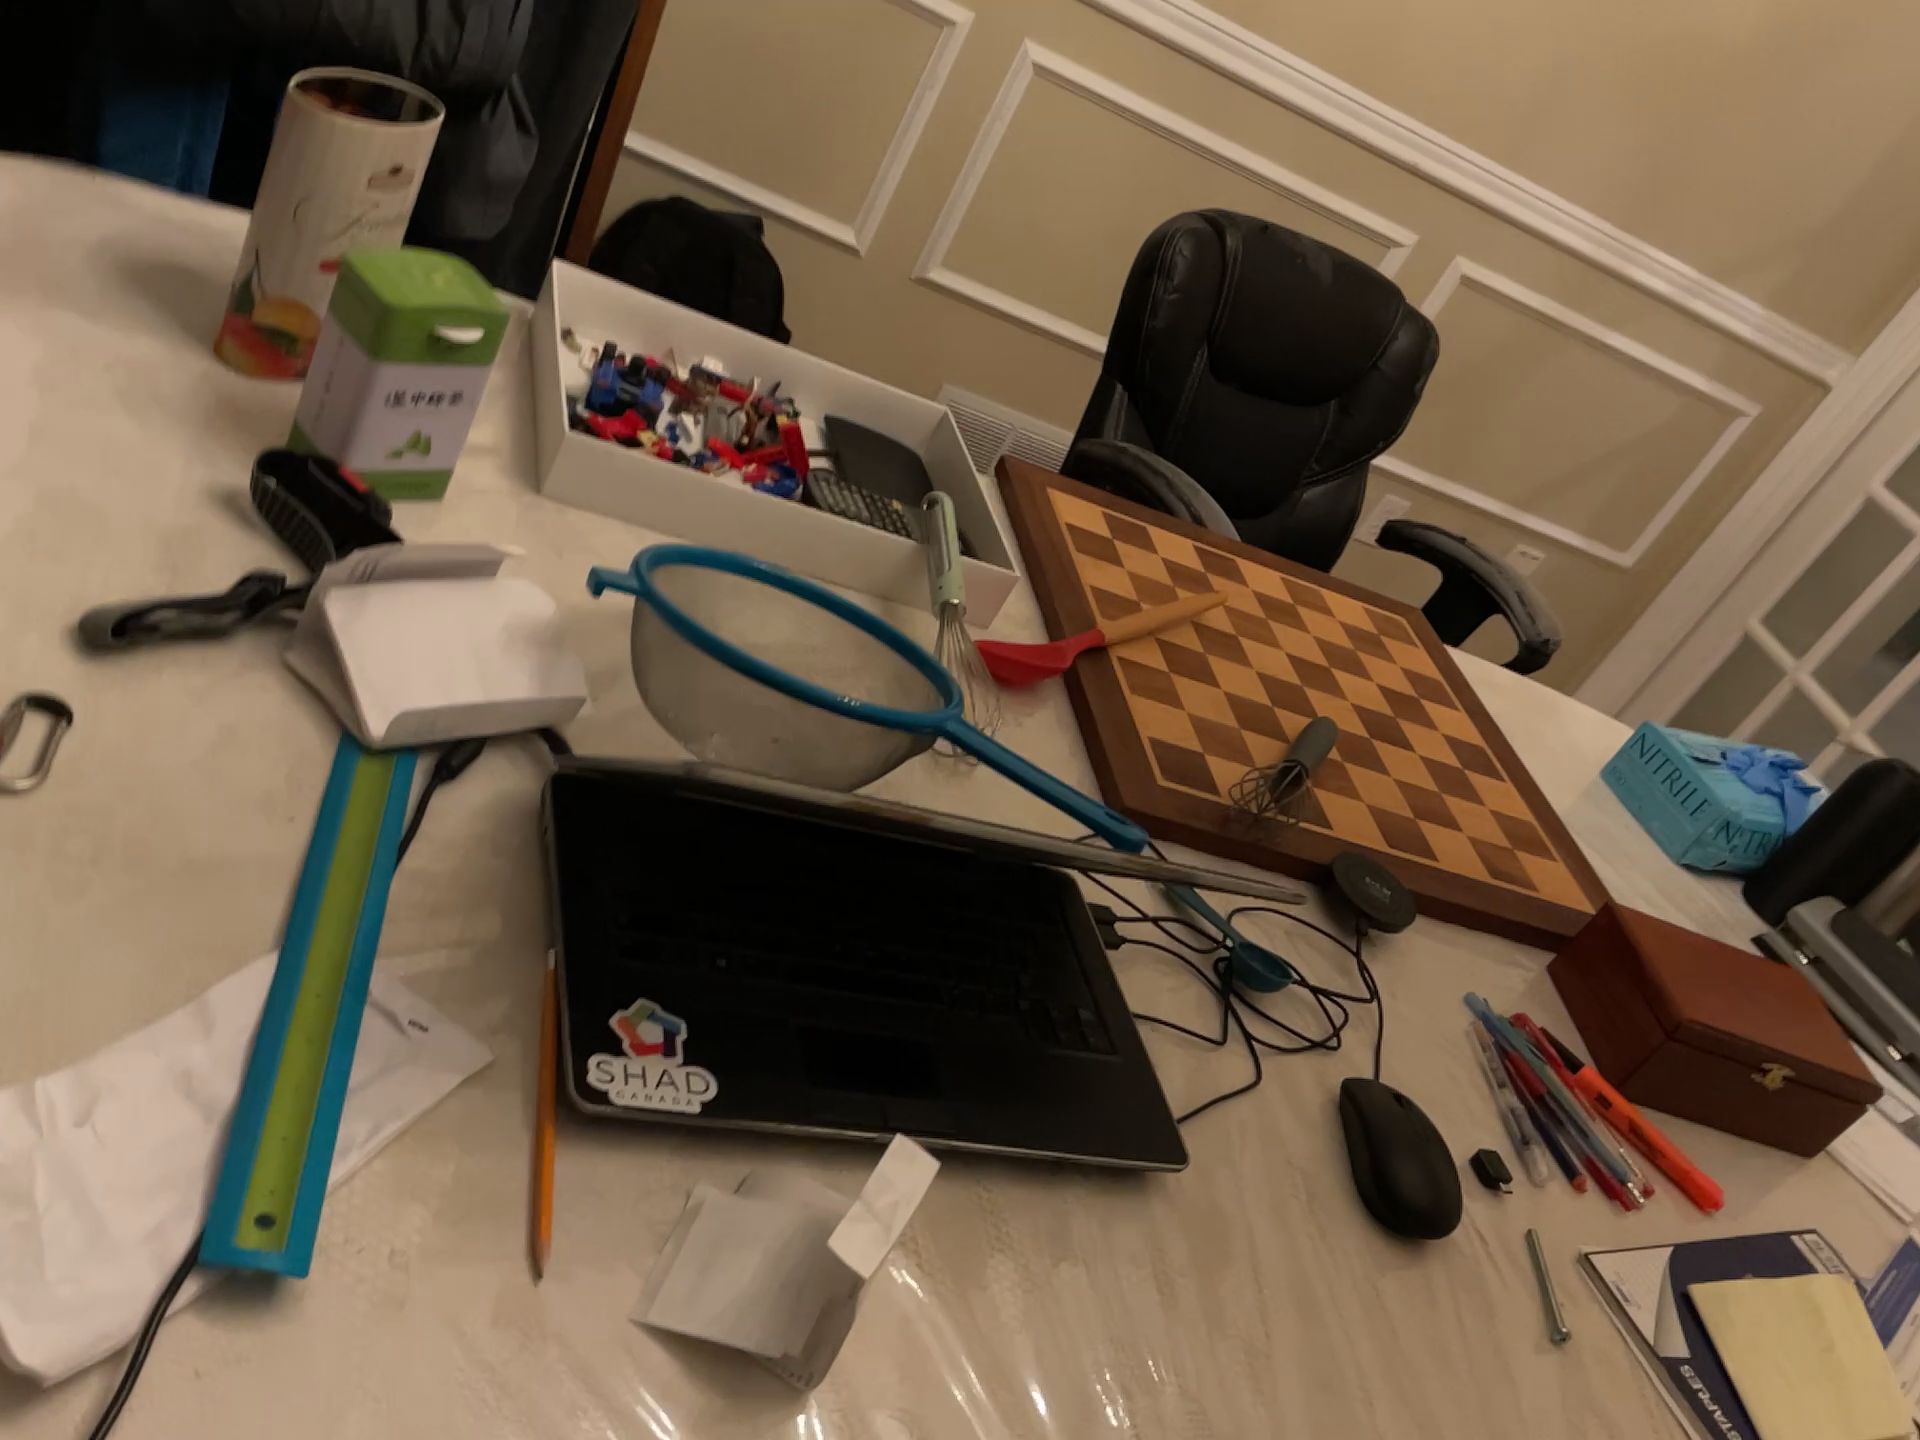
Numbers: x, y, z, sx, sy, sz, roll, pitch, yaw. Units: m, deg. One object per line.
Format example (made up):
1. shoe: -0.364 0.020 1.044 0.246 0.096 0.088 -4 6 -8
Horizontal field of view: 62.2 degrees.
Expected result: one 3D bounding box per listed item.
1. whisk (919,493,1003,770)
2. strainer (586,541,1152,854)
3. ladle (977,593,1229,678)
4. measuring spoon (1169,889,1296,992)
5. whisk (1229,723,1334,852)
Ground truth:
1. whisk: -0.007 -0.068 1.105 0.059 0.058 0.247 44 30 -46
2. strainer: -0.055 0.017 0.920 0.340 0.095 0.211 32 17 11
3. ladle: 0.125 -0.072 1.257 0.069 0.031 0.315 24 27 35
4. measuring spoon: 0.162 0.136 1.027 0.042 0.021 0.129 7 25 -48
5. whisk: 0.249 0.042 1.189 0.055 0.055 0.239 49 28 4
